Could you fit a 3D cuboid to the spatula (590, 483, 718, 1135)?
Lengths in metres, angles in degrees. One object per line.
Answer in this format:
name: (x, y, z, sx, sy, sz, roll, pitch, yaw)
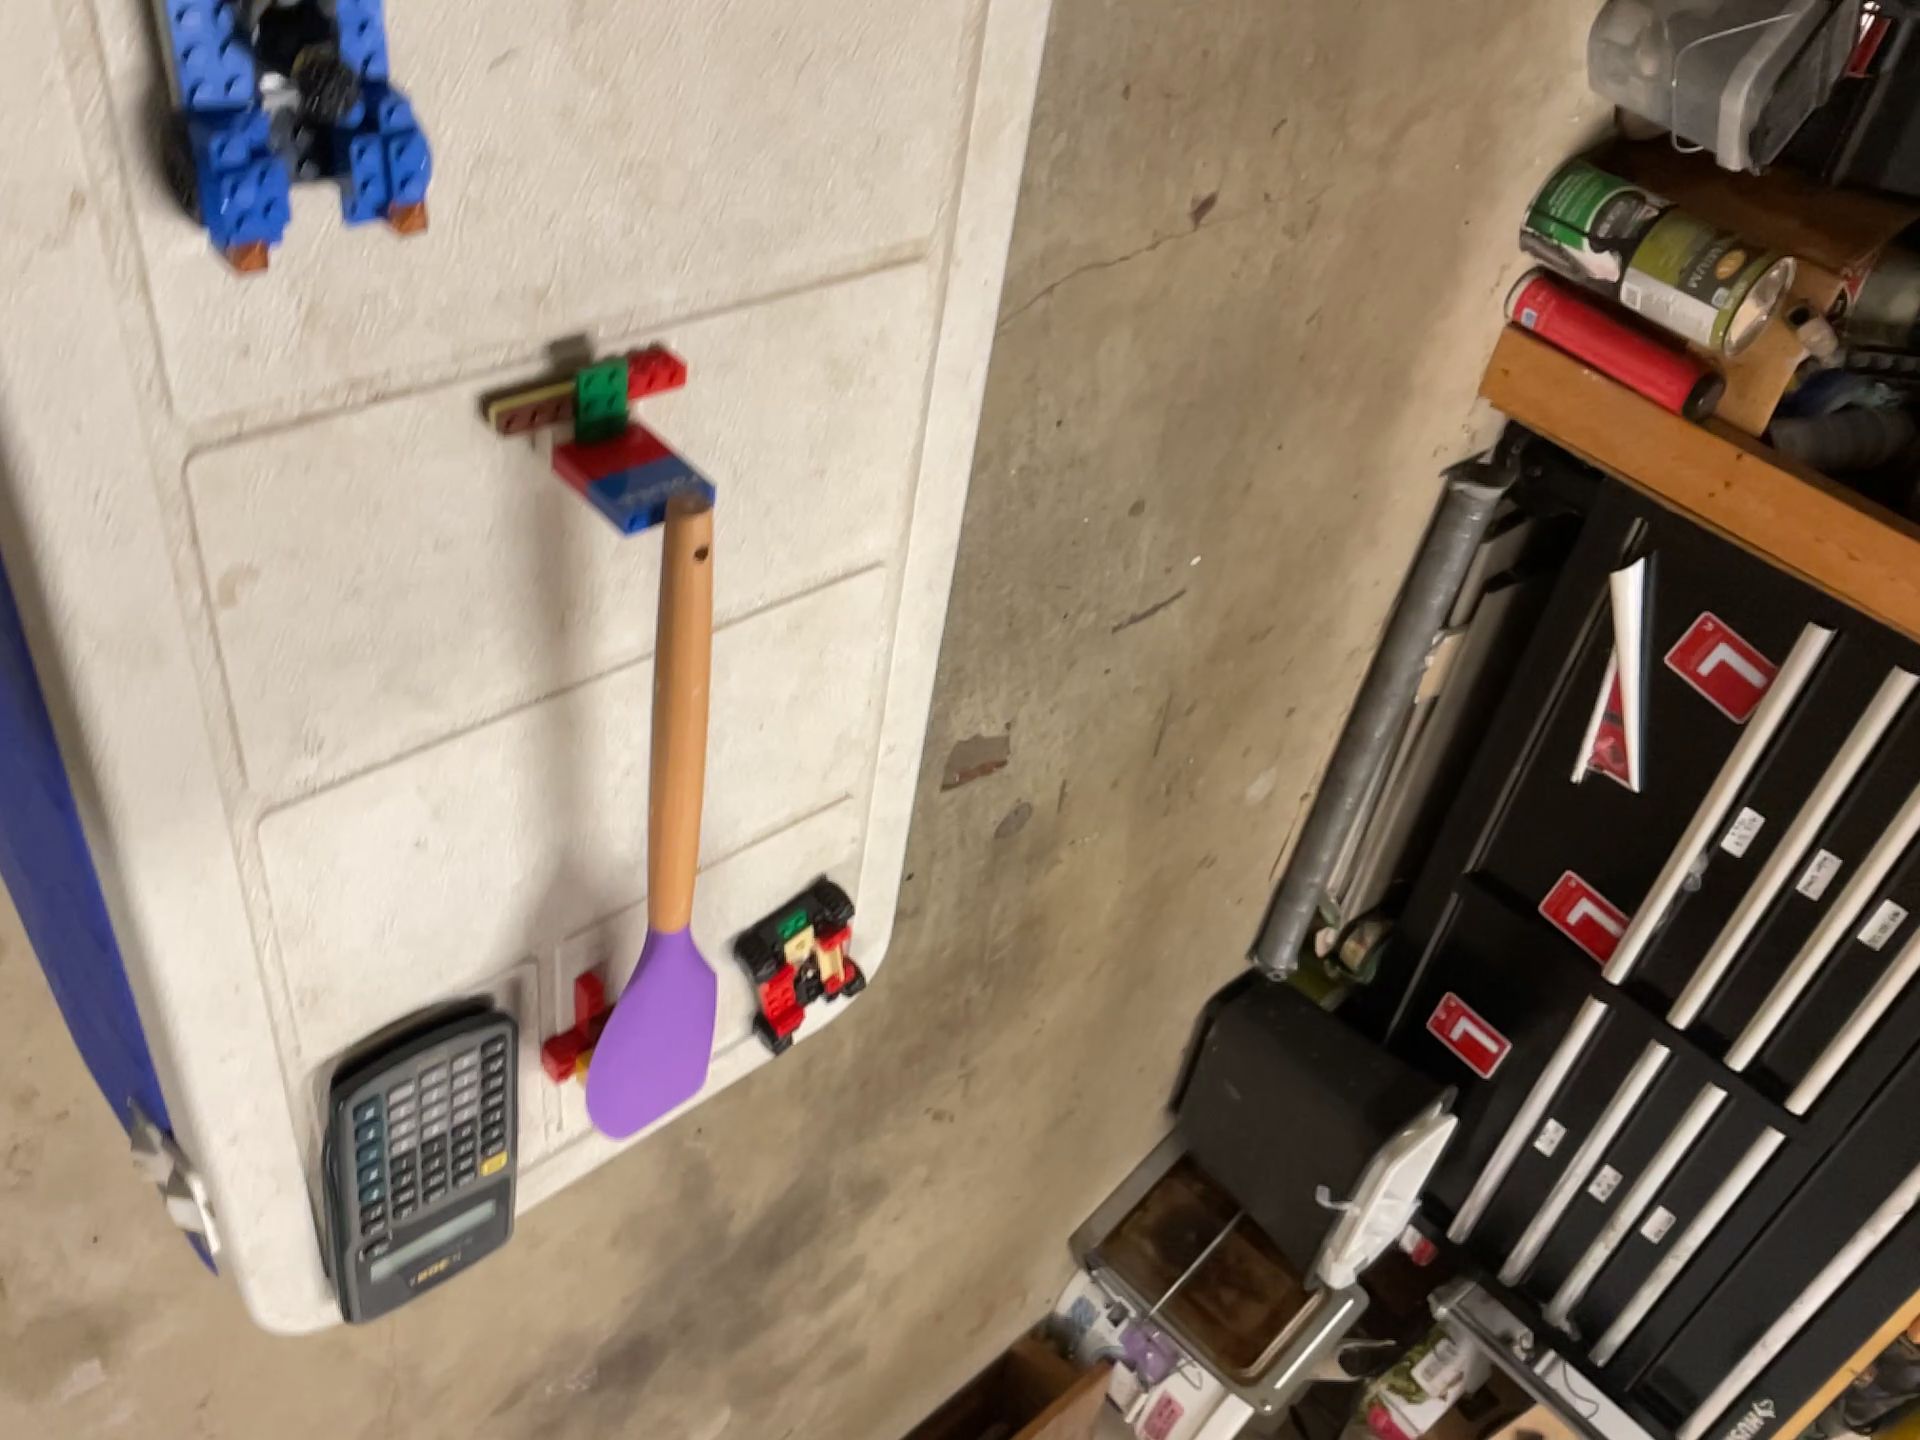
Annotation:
spatula: (-0.103, 0.051, 0.558, 0.060, 0.018, 0.315, -27, 145, -36)
